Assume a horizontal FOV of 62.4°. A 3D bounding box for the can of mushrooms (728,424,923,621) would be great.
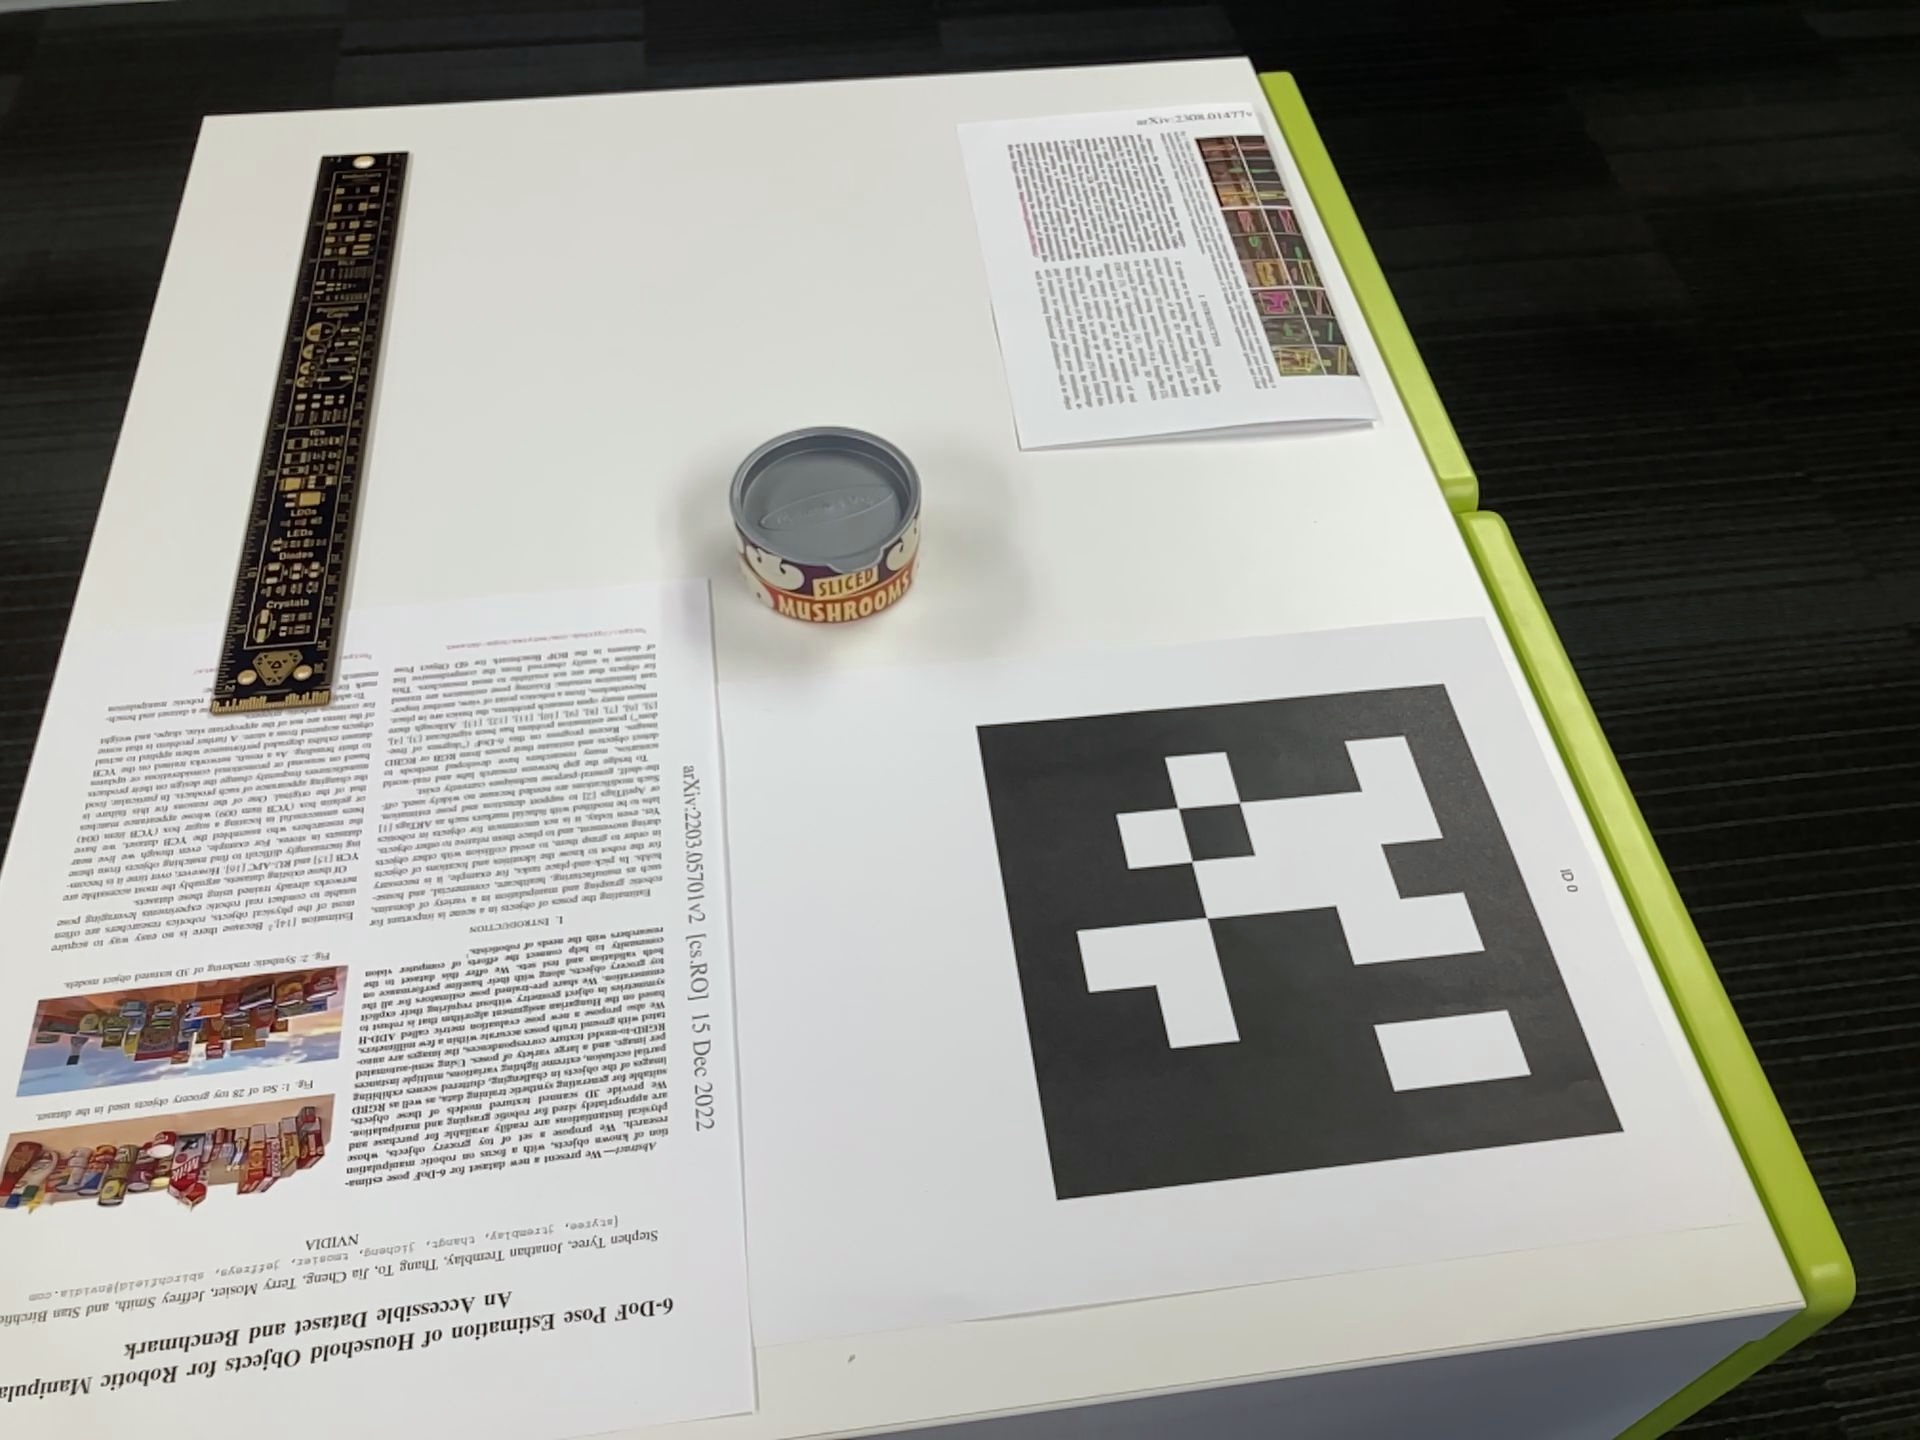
[{"bbox_3d":[-0.046,-0.067,0.552,0.071,0.033,0.071,1,52,-1],"label":"can of mushrooms"}]
